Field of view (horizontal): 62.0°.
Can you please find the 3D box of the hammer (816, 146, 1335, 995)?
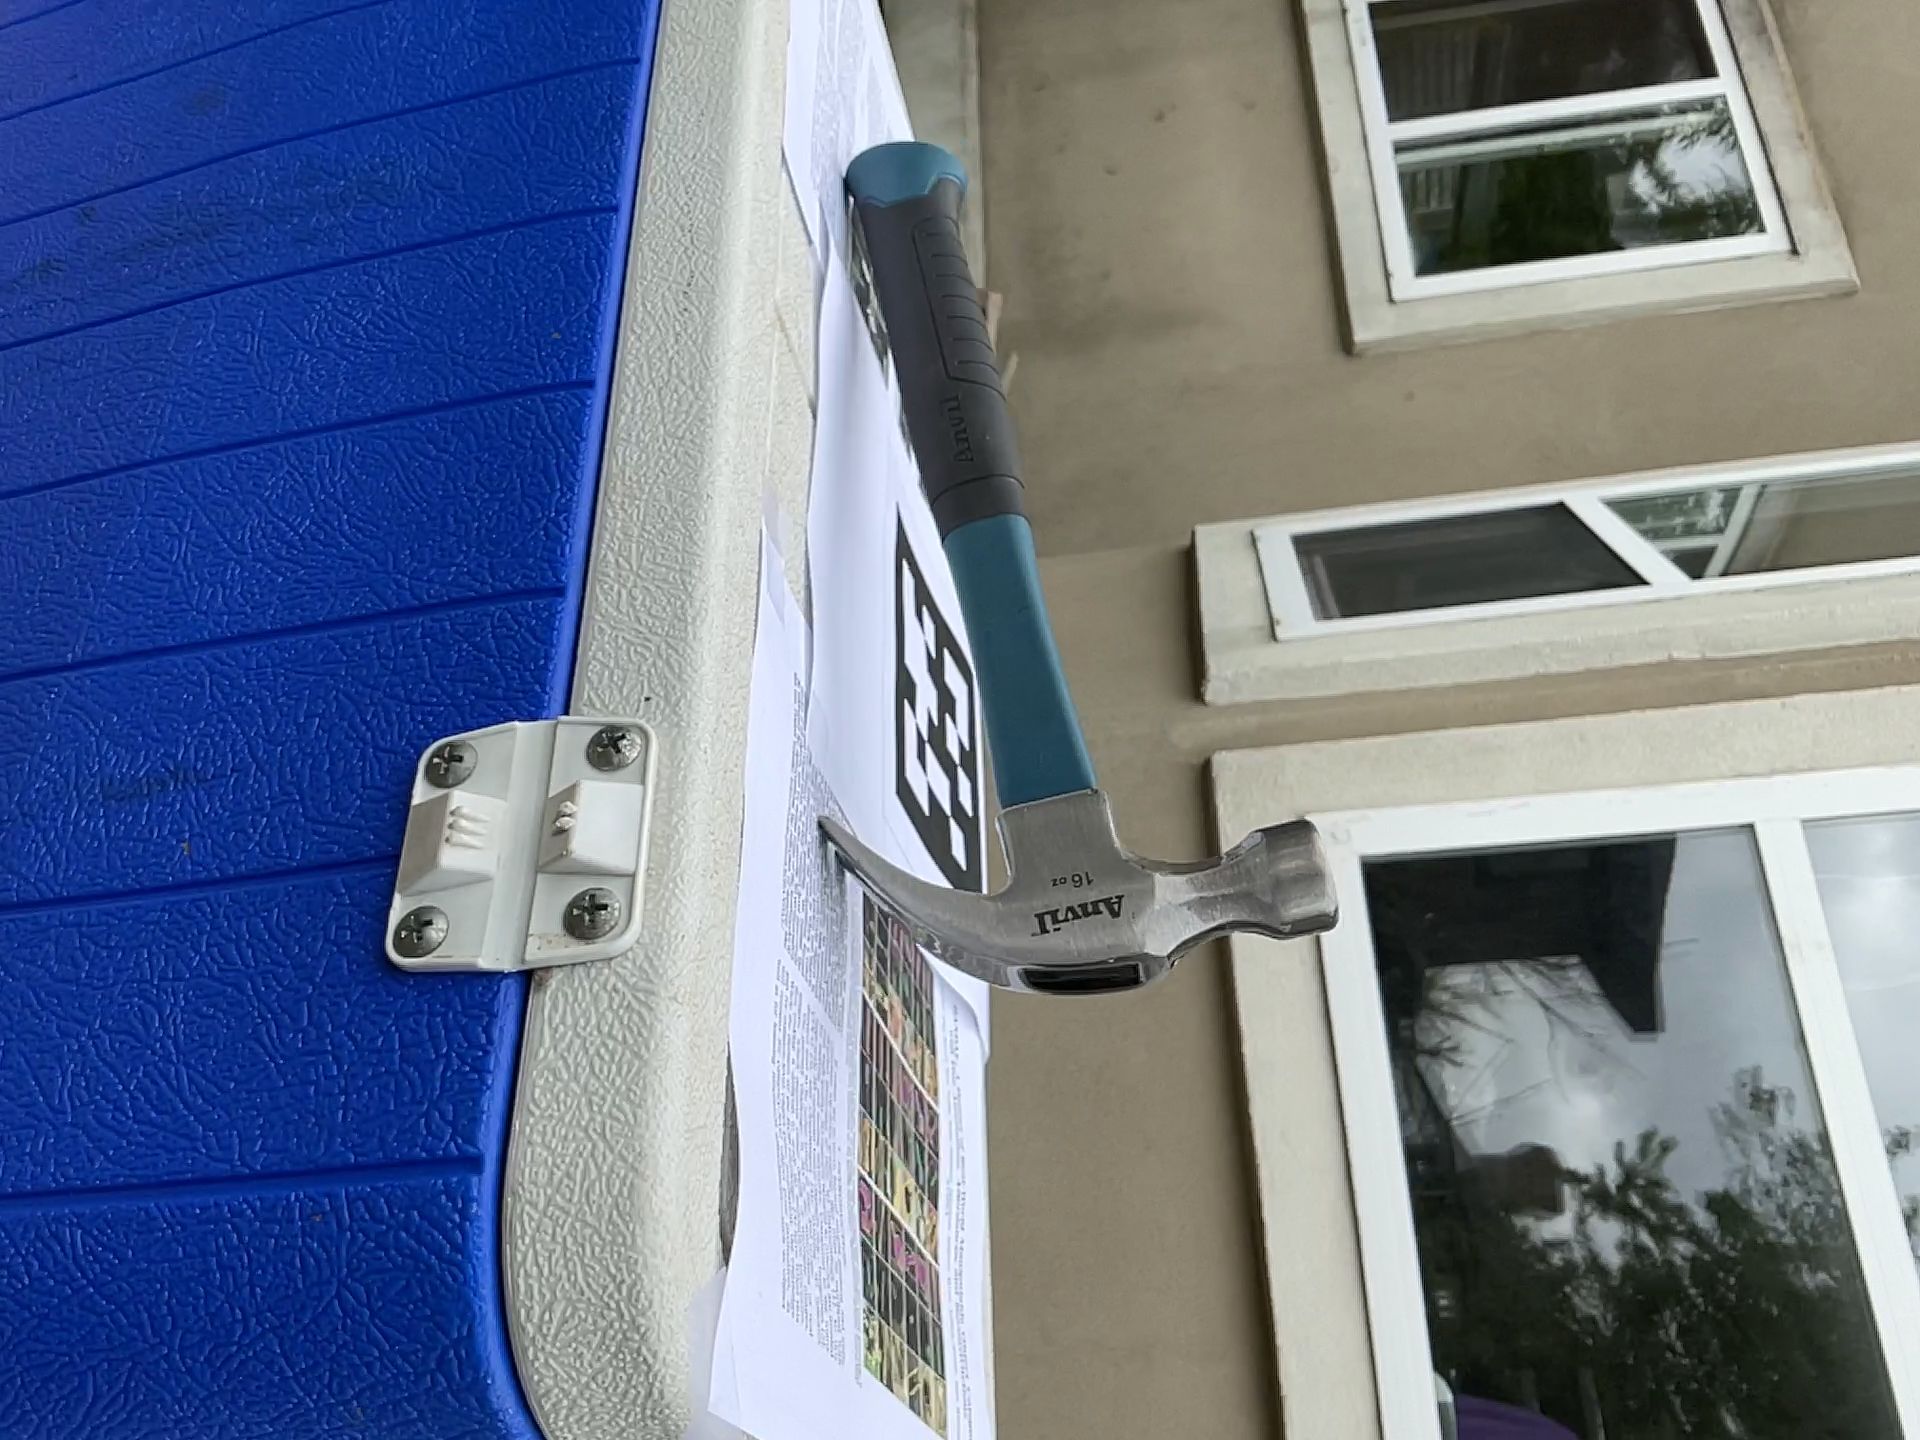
[{"bbox_3d":[0.006,-0.068,0.502,0.033,0.128,0.331,71,5,-57],"label":"hammer"}]
